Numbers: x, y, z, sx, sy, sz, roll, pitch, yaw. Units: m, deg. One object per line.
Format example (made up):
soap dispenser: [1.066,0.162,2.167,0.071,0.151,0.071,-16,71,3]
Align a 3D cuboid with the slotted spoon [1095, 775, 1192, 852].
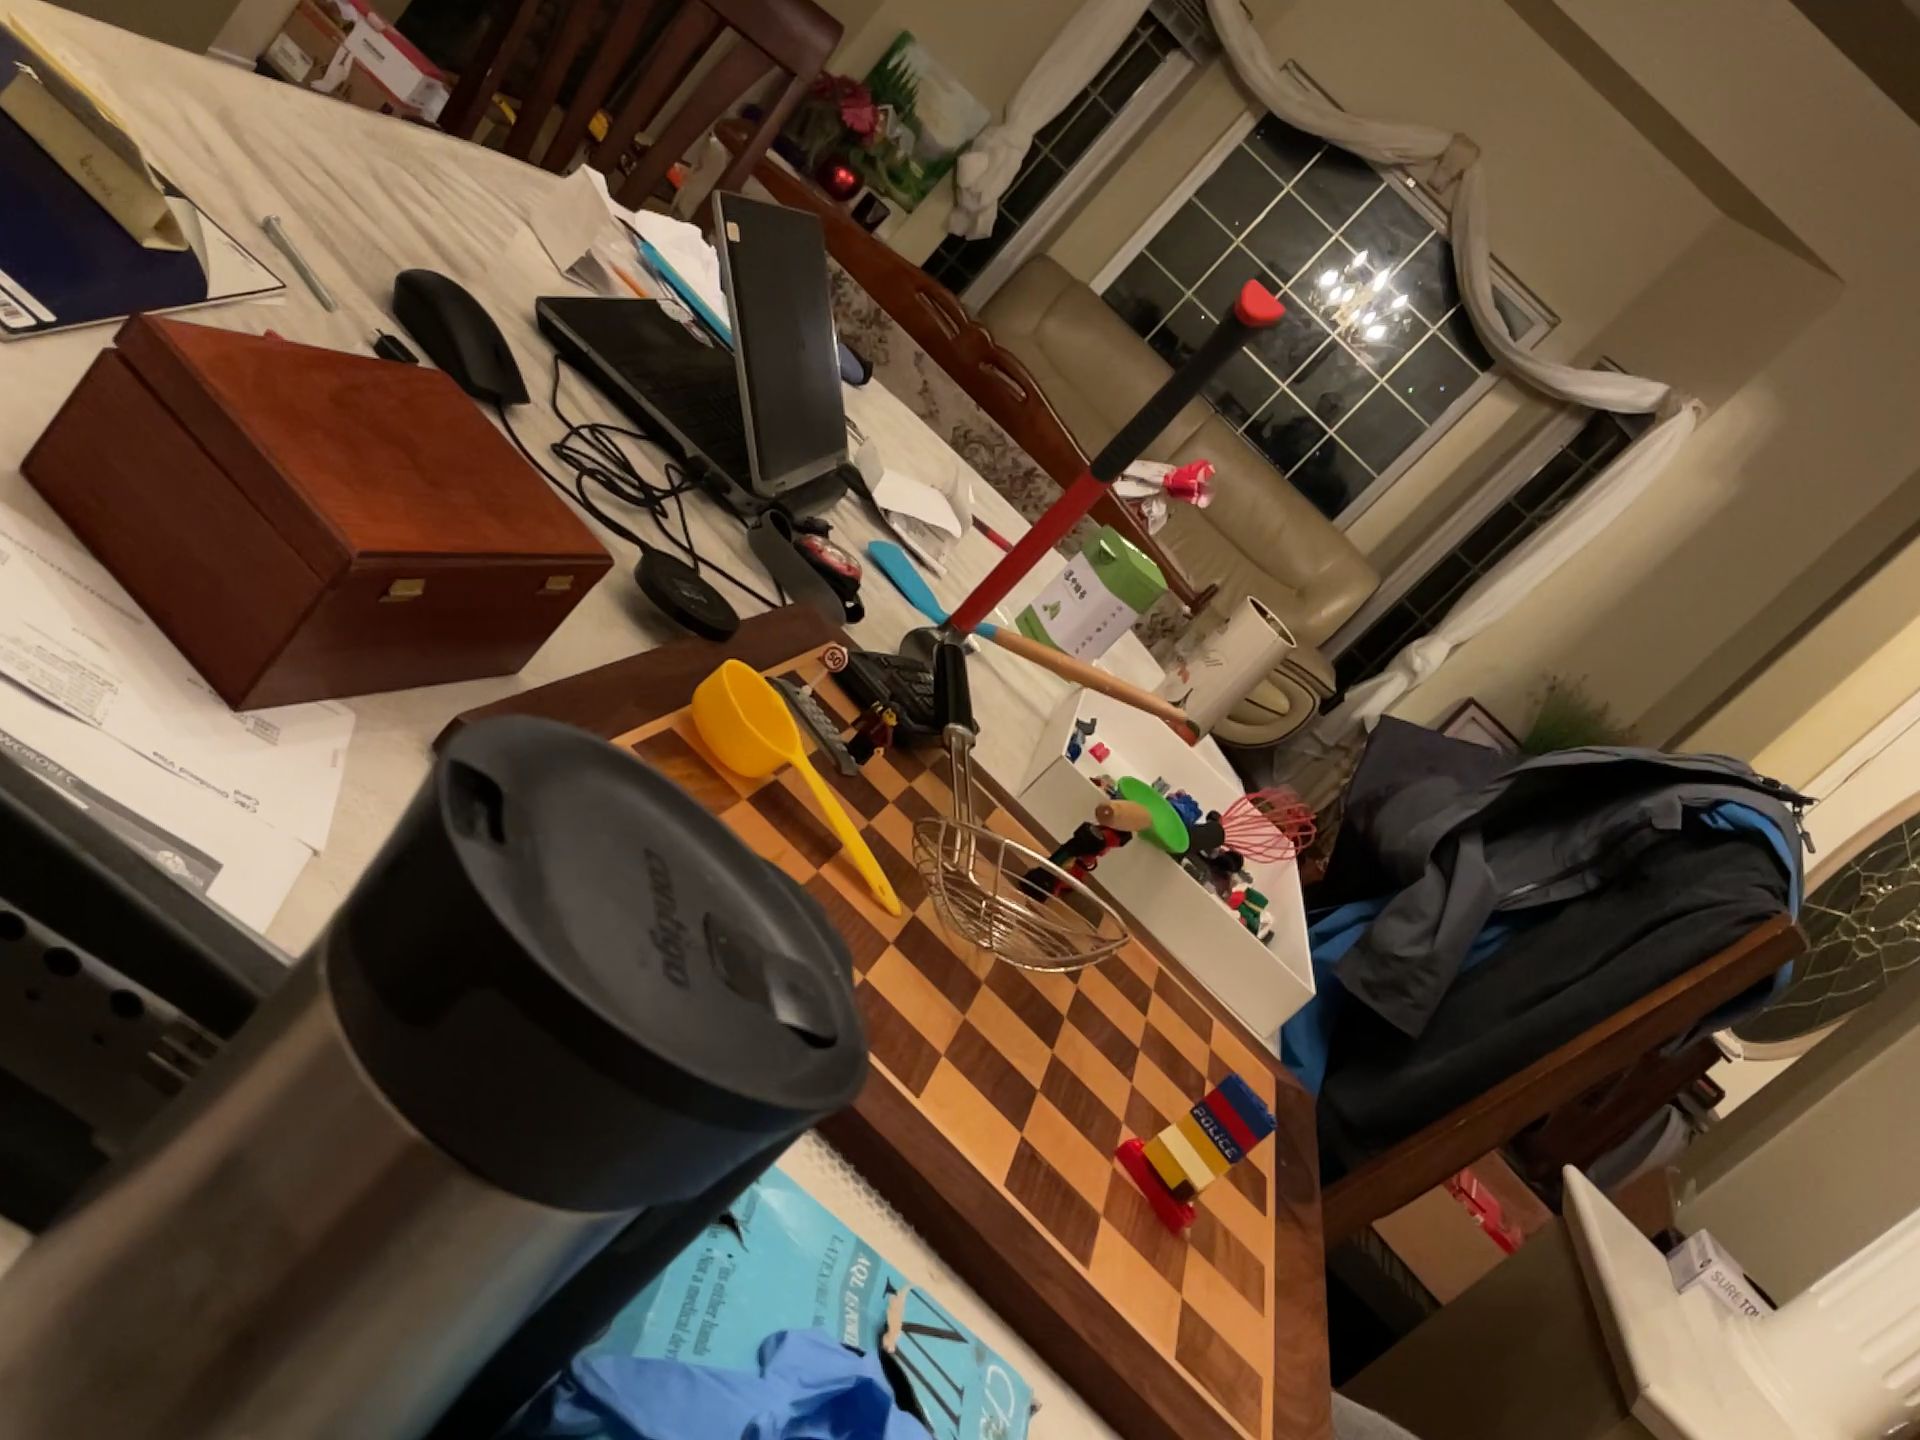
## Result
slotted spoon: [0.113,0.062,1.029,0.070,0.031,0.313,49,7,11]

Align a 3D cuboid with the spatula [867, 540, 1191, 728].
spatula: [0.059,-0.073,1.386,0.318,0.044,0.082,25,11,11]

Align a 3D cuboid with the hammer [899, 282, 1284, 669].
hammer: [0.104,-0.182,1.246,0.038,0.386,0.143,45,16,4]

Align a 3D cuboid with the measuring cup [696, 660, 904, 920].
measuring cup: [-0.081,0.041,0.802,0.156,0.029,0.062,57,12,-2]

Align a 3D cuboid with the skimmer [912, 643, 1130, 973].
skimmer: [0.022,0.024,0.947,0.127,0.090,0.363,36,21,-21]

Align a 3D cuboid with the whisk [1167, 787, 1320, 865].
whisk: [0.232,0.101,1.391,0.073,0.073,0.295,33,21,34]
